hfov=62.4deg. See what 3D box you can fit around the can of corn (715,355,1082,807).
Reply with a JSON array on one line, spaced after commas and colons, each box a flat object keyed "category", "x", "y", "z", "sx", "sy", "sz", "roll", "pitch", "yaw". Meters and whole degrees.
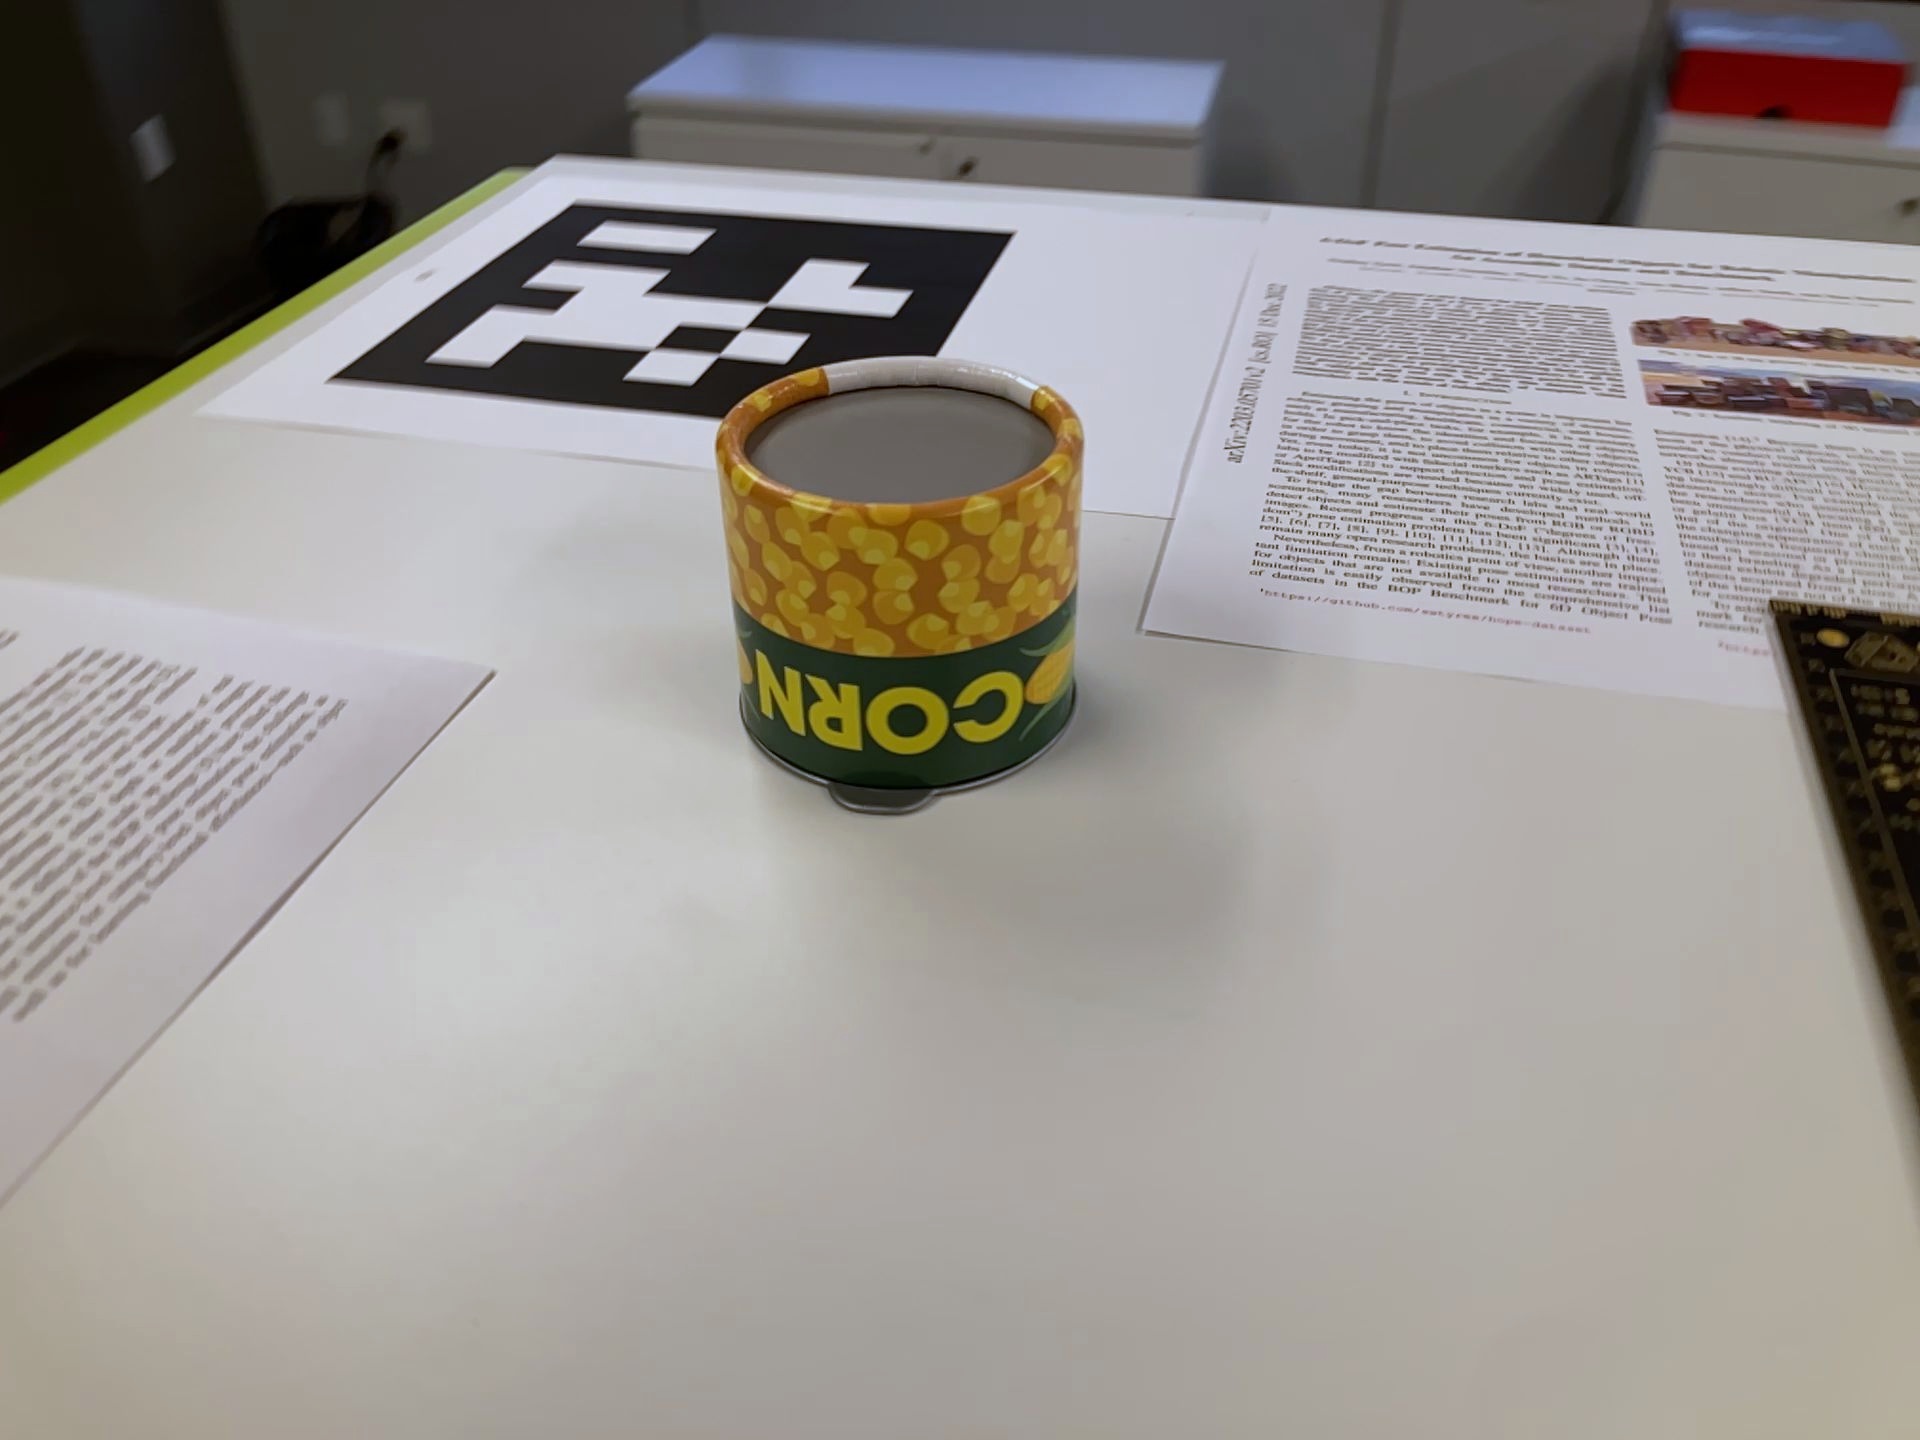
[{"category": "can of corn", "x": -0.011, "y": -0.028, "z": 0.295, "sx": 0.071, "sy": 0.058, "sz": 0.071, "roll": 0, "pitch": 35, "yaw": 0}]
